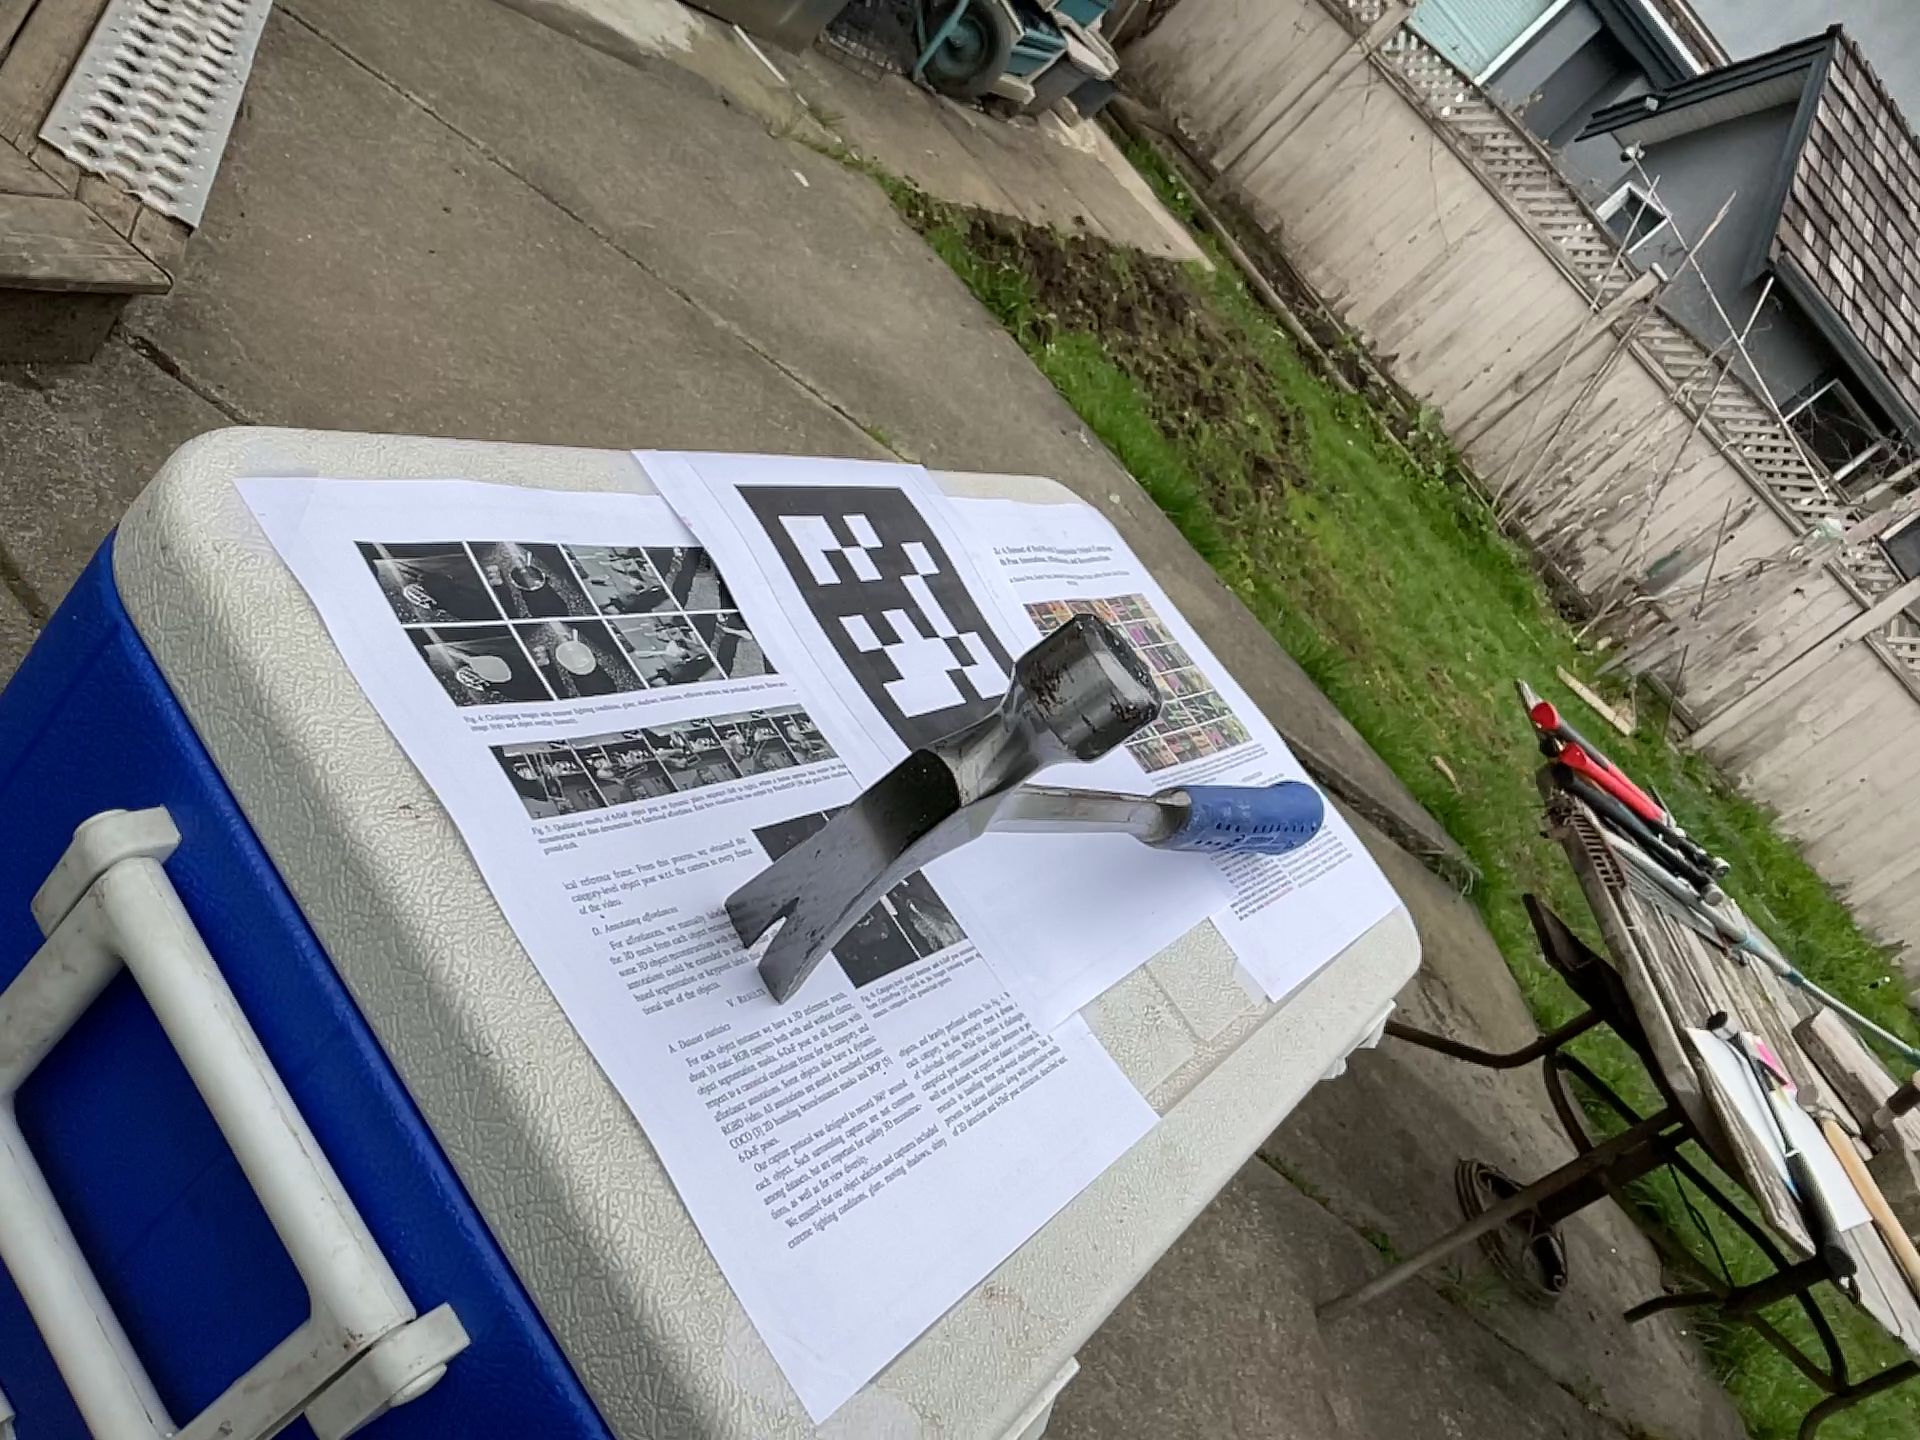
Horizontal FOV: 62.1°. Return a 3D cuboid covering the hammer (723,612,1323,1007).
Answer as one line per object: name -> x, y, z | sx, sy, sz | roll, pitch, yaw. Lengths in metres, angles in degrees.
hammer -> 0.065, 0.038, 0.591 | 0.035, 0.144, 0.405 | 58, 19, 17
